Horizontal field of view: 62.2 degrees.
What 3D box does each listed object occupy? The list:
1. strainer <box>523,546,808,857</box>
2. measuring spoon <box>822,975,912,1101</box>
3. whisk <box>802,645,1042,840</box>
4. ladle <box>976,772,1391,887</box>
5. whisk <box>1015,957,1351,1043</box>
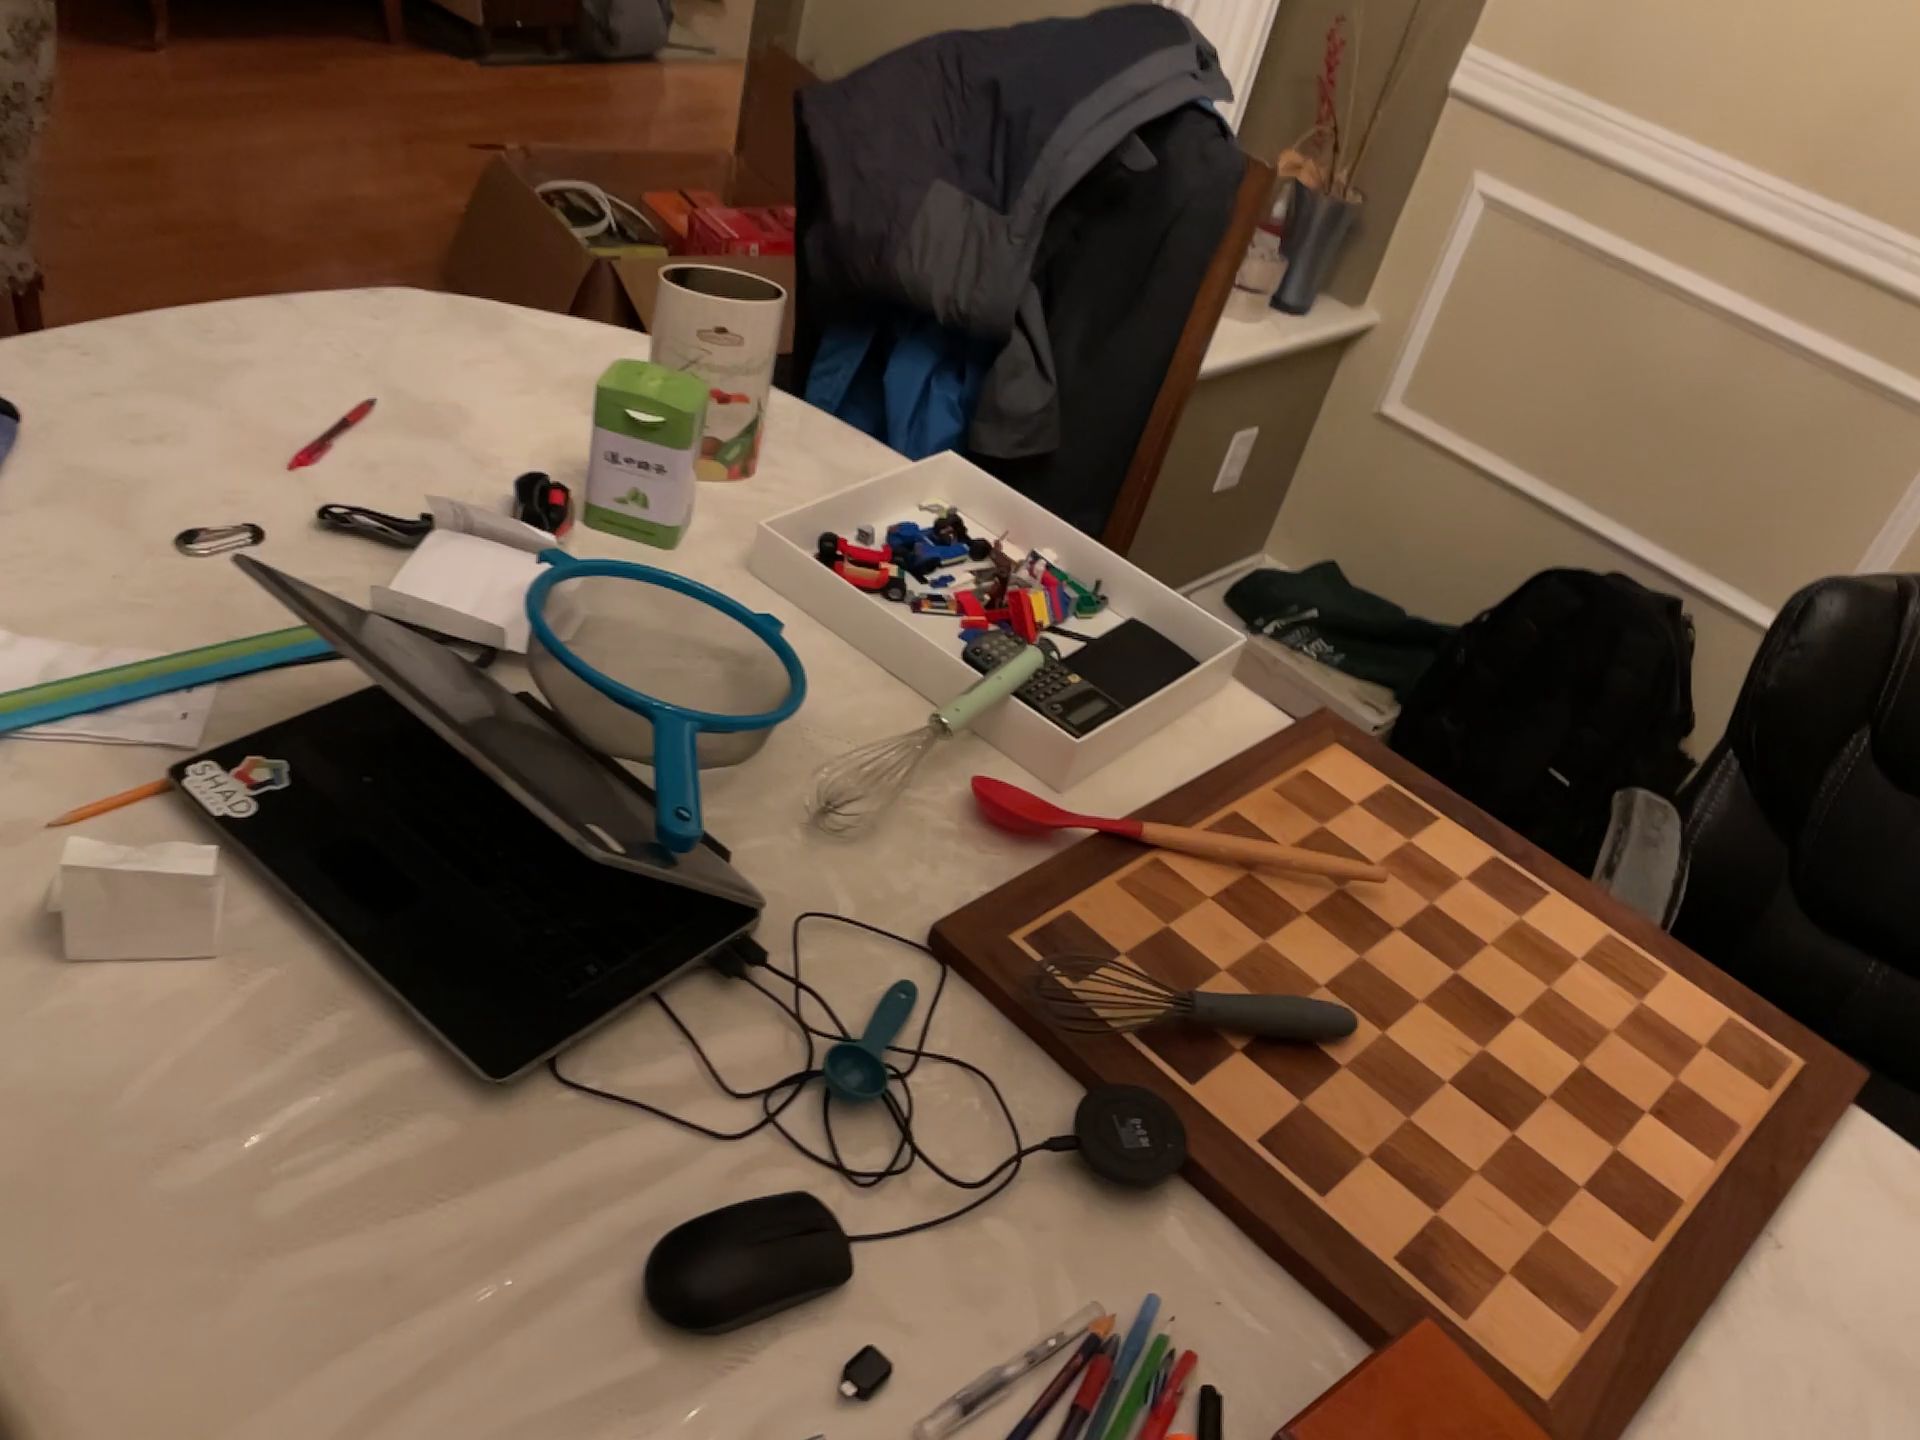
[{"bbox_3d":[-0.213,0.010,1.104,0.210,0.095,0.341,16,29,-22],"label":"strainer"},{"bbox_3d":[-0.055,0.198,0.991,0.042,0.021,0.128,28,25,3],"label":"measuring spoon"},{"bbox_3d":[-0.023,0.010,1.191,0.246,0.058,0.059,-38,90,-32],"label":"whisk"},{"bbox_3d":[0.164,0.087,1.183,0.315,0.031,0.069,12,14,2],"label":"ladle"},{"bbox_3d":[0.147,0.189,1.033,0.238,0.055,0.055,10,50,-15],"label":"whisk"}]
